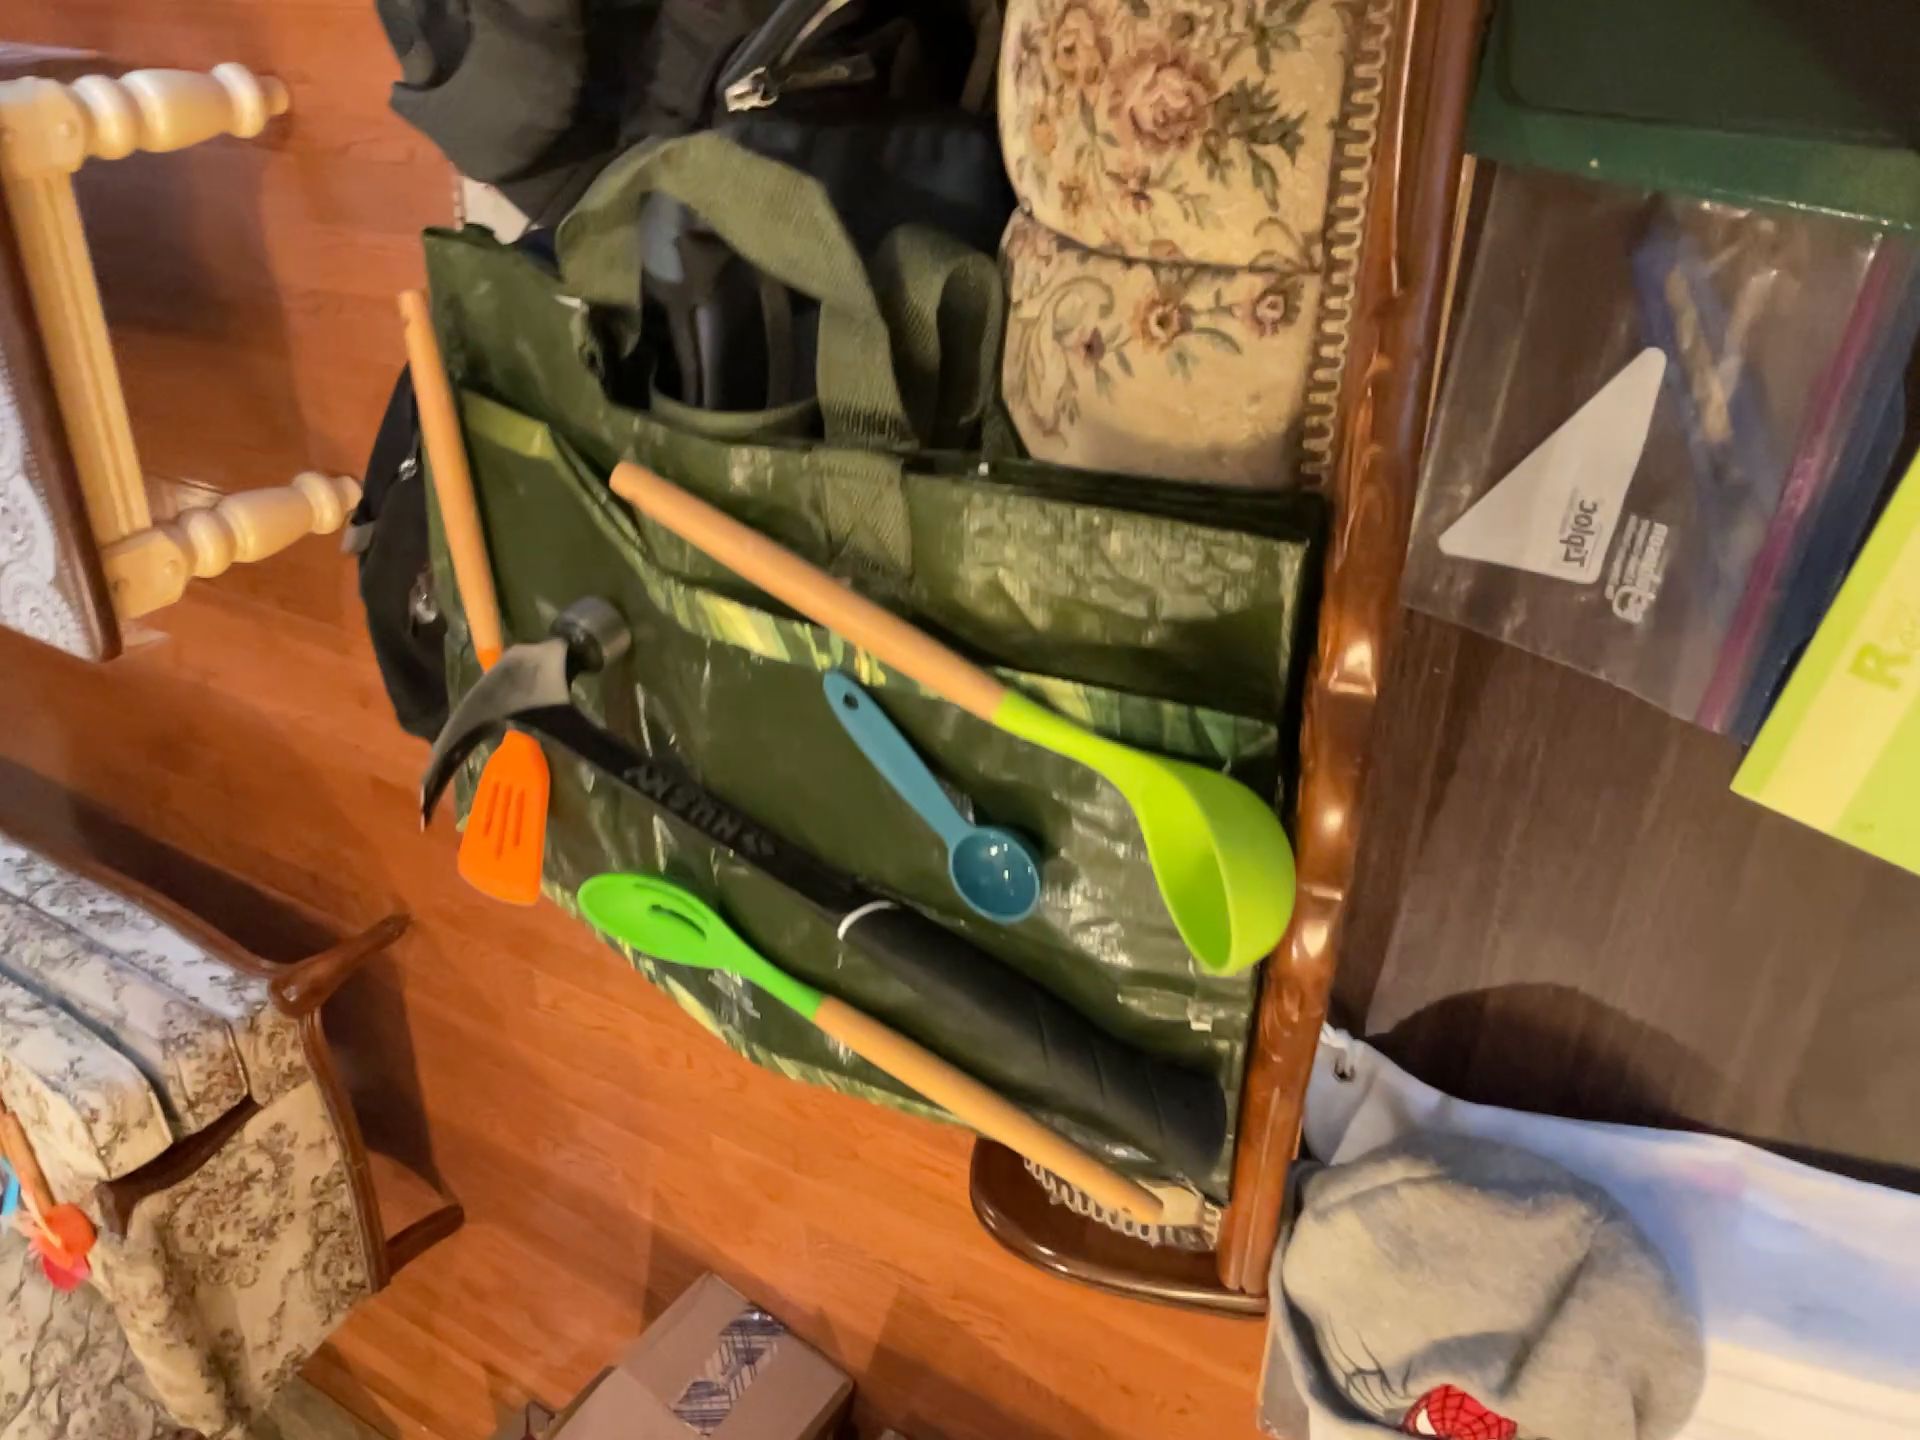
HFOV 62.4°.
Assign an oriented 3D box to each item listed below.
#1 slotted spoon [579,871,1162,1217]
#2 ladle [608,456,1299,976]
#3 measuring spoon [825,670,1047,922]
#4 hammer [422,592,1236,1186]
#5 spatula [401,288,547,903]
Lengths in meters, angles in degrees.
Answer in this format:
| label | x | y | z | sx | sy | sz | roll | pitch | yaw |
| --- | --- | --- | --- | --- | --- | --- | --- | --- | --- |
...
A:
| label | x | y | z | sx | sy | sz | roll | pitch | yaw |
| --- | --- | --- | --- | --- | --- | --- | --- | --- | --- |
| slotted spoon | -0.045 | 0.152 | 0.761 | 0.314 | 0.031 | 0.070 | 28 | 143 | 10 |
| ladle | -0.012 | -0.011 | 0.607 | 0.320 | 0.062 | 0.078 | 32 | 154 | 11 |
| measuring spoon | -0.009 | 0.026 | 0.651 | 0.128 | 0.021 | 0.042 | 50 | 130 | 2 |
| hammer | -0.058 | 0.084 | 0.716 | 0.409 | 0.149 | 0.036 | 31 | 137 | 12 |
| spatula | -0.260 | -0.060 | 0.835 | 0.081 | 0.041 | 0.322 | 12 | 117 | 40 |
